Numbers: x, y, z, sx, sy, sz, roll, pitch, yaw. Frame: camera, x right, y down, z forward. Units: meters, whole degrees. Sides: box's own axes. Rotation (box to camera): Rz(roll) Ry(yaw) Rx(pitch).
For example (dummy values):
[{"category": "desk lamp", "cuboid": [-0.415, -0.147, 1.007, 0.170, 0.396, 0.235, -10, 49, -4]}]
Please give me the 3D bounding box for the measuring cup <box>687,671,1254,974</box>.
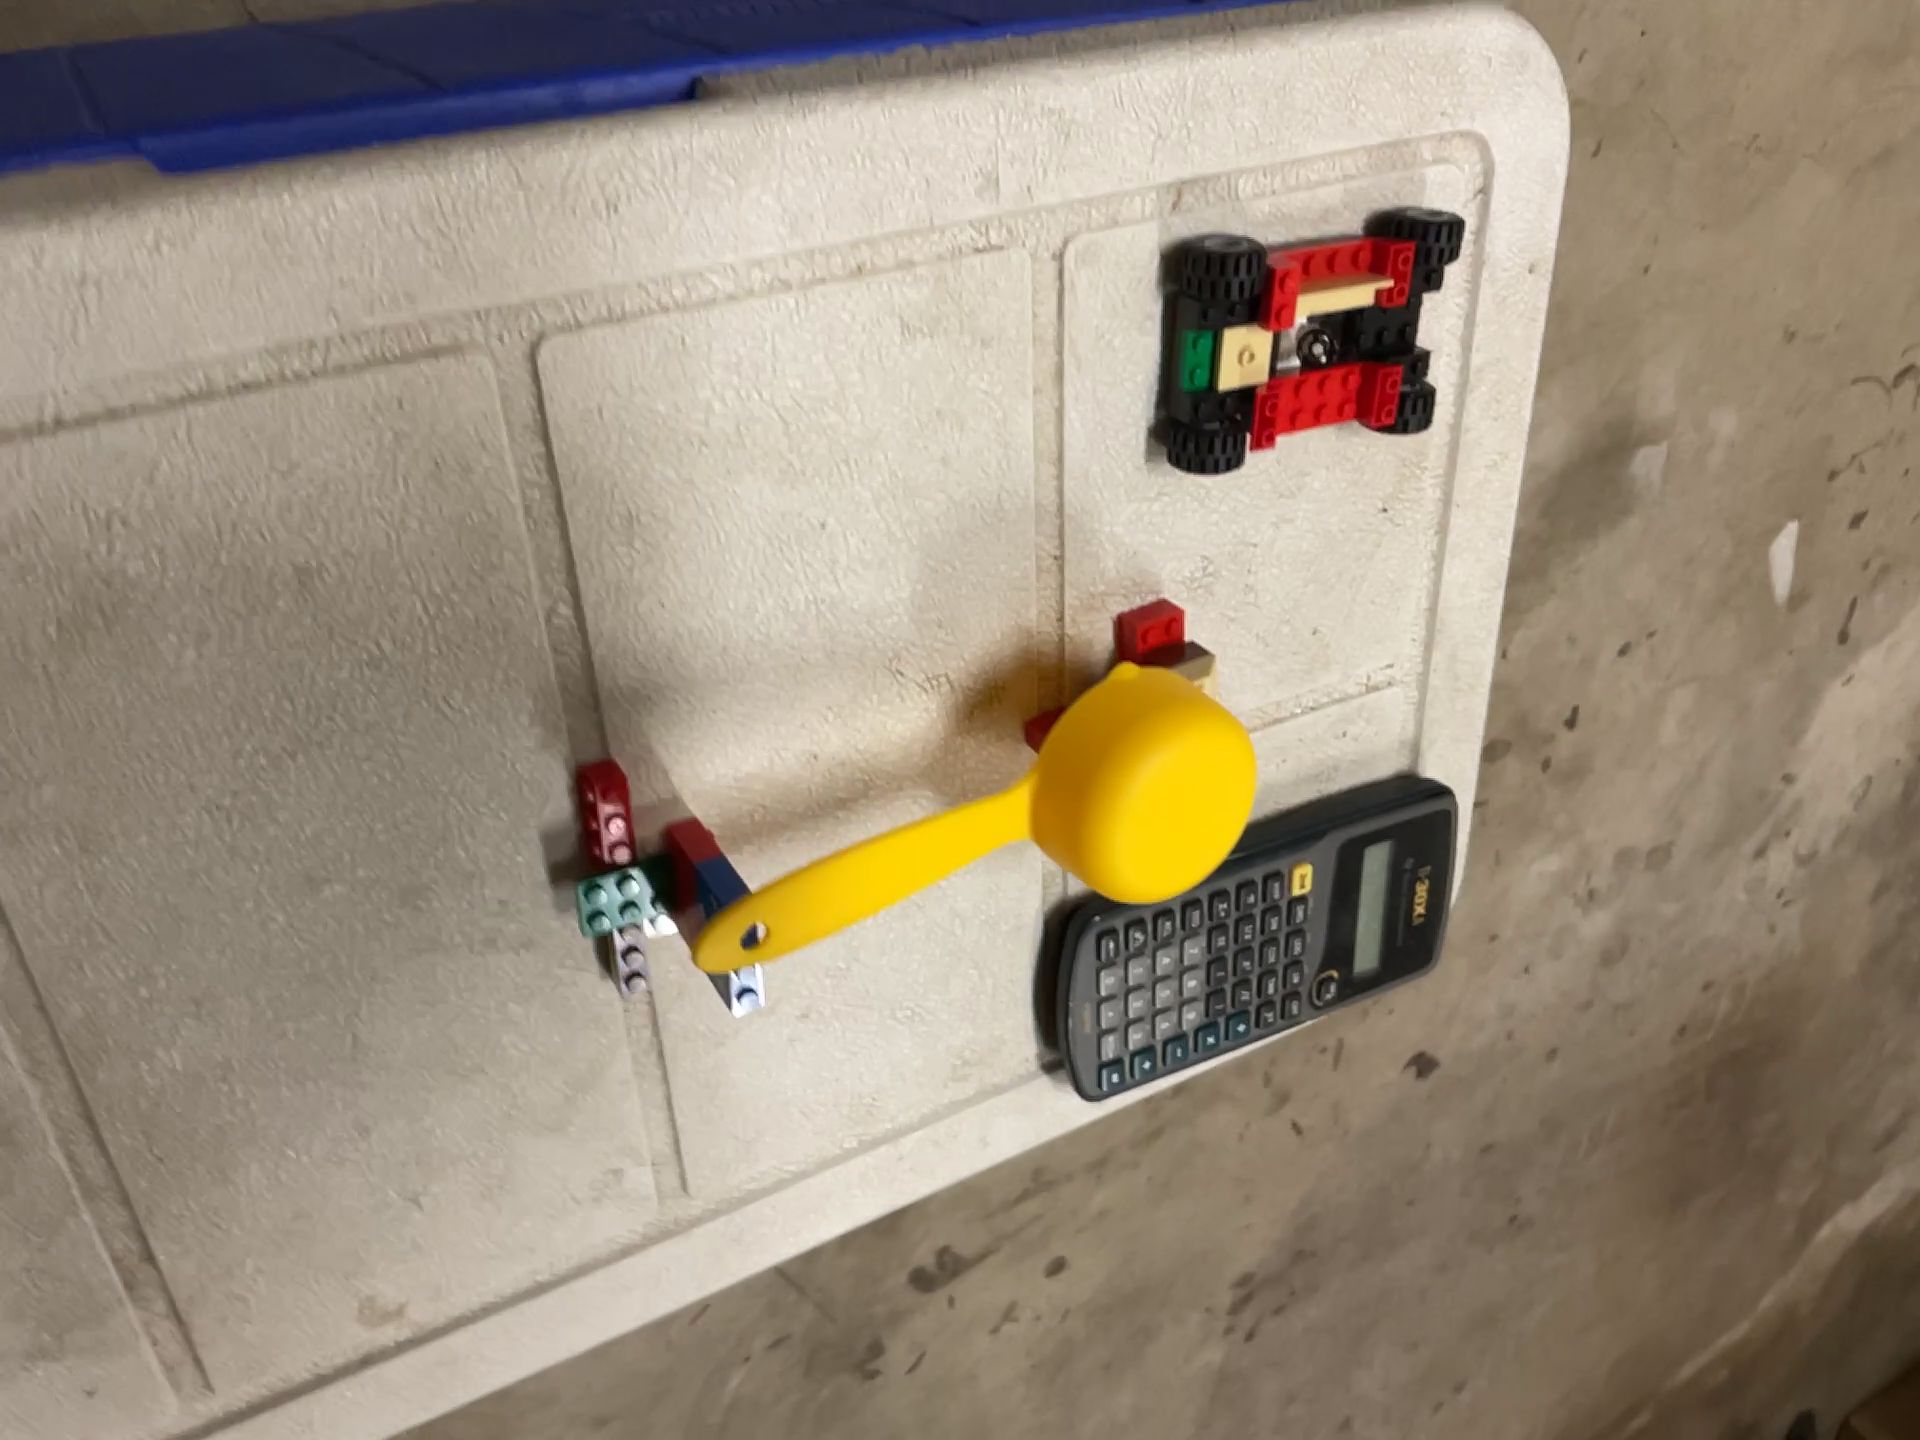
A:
[{"category": "measuring cup", "cuboid": [0.009, 0.035, 0.392, 0.156, 0.029, 0.062, -20, 125, -28]}]
